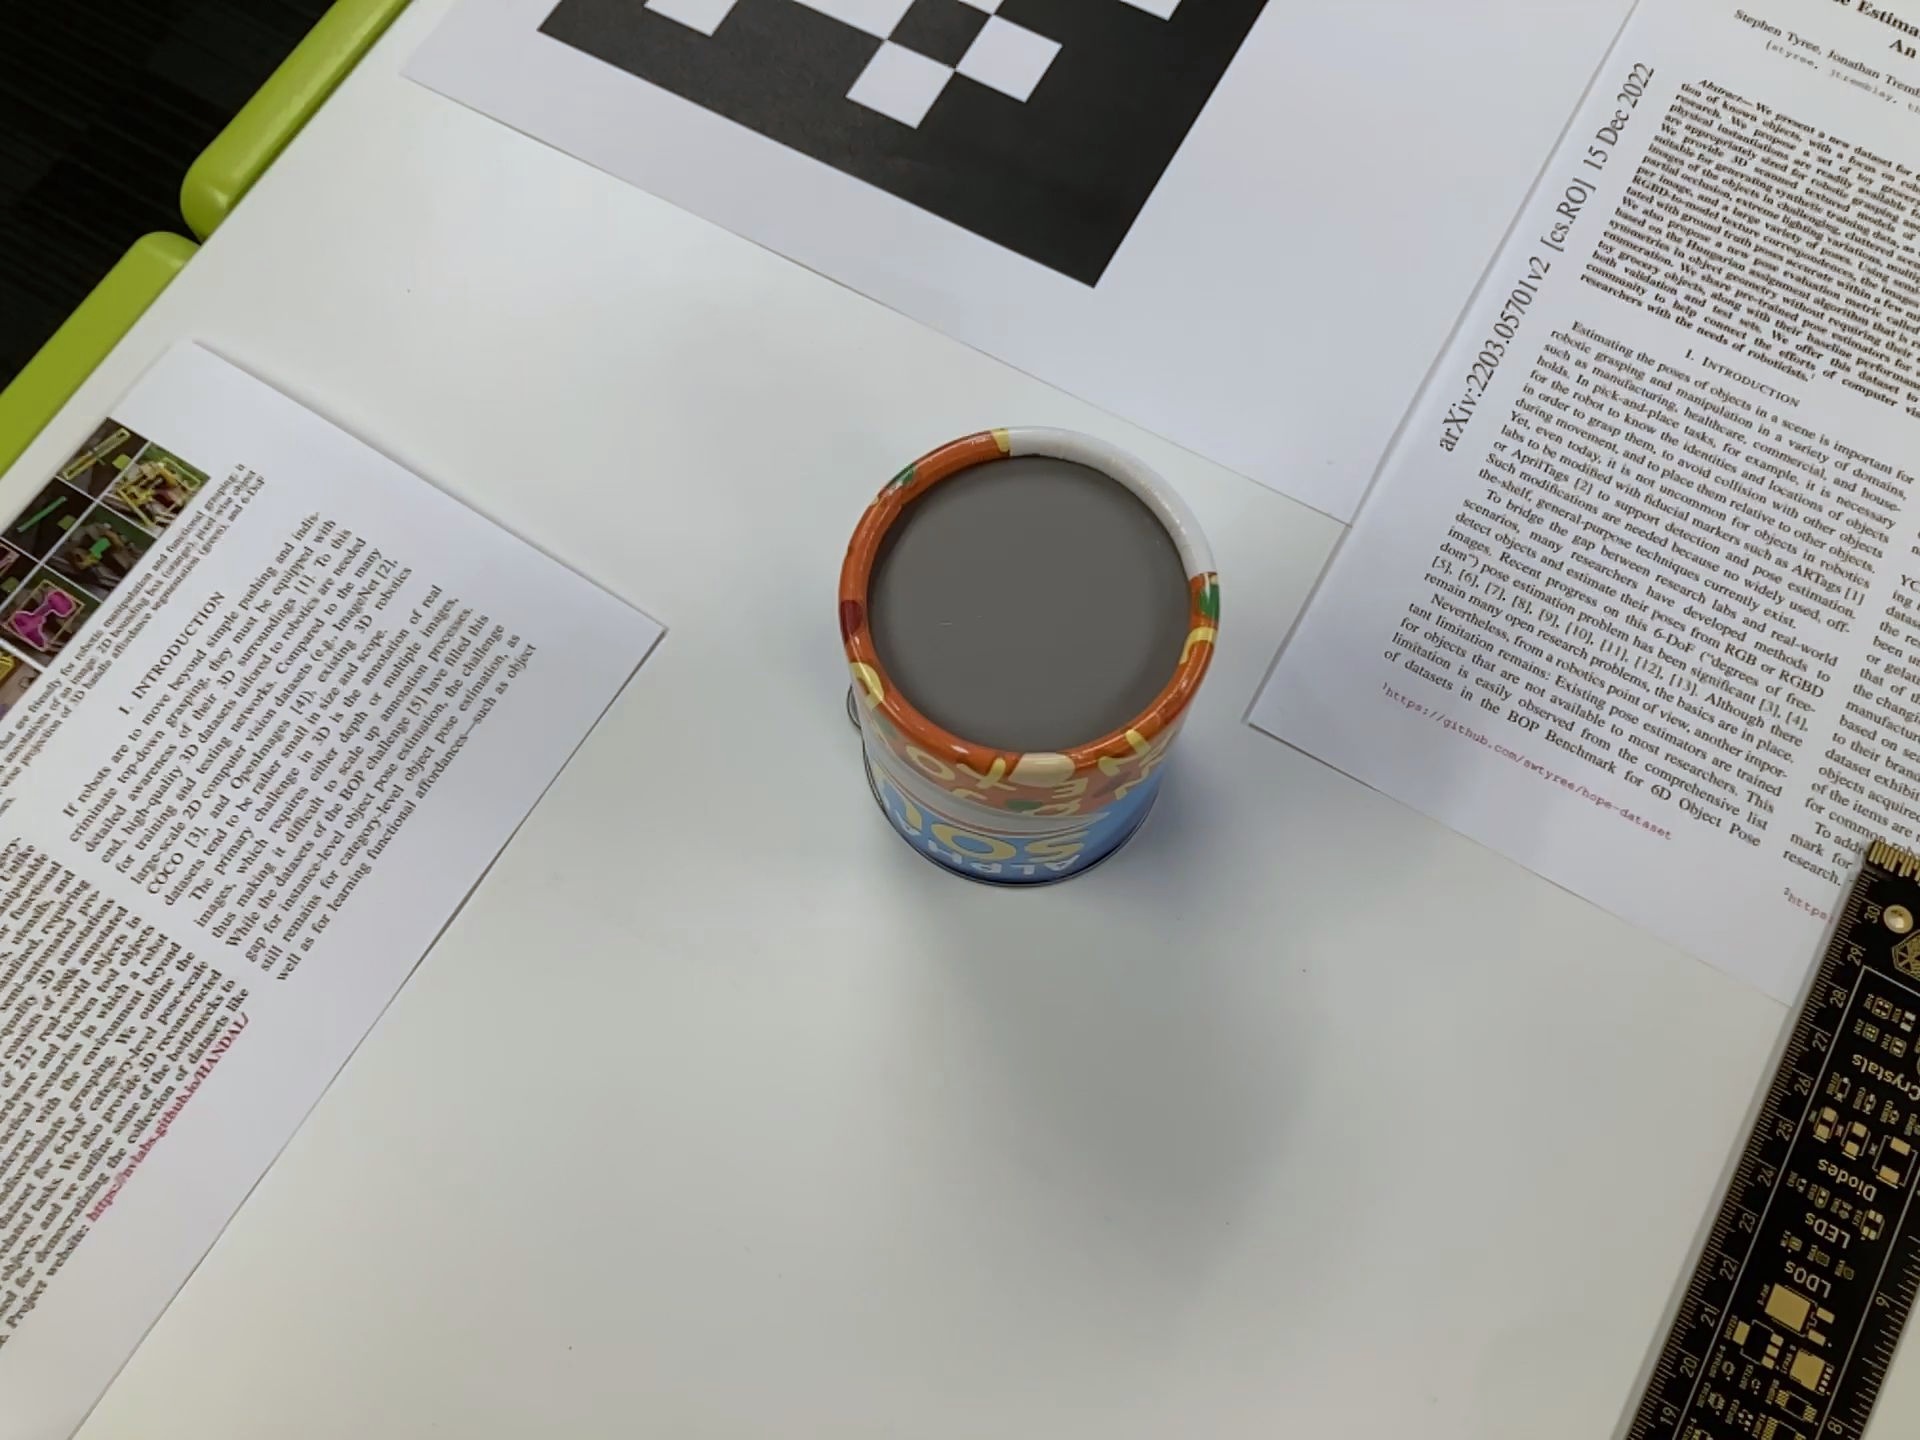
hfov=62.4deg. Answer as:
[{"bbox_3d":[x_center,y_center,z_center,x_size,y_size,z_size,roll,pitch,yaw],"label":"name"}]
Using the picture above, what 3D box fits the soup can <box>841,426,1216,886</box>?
[{"bbox_3d":[0.011,-0.007,0.311,0.071,0.084,0.071,0,71,1],"label":"soup can"}]
